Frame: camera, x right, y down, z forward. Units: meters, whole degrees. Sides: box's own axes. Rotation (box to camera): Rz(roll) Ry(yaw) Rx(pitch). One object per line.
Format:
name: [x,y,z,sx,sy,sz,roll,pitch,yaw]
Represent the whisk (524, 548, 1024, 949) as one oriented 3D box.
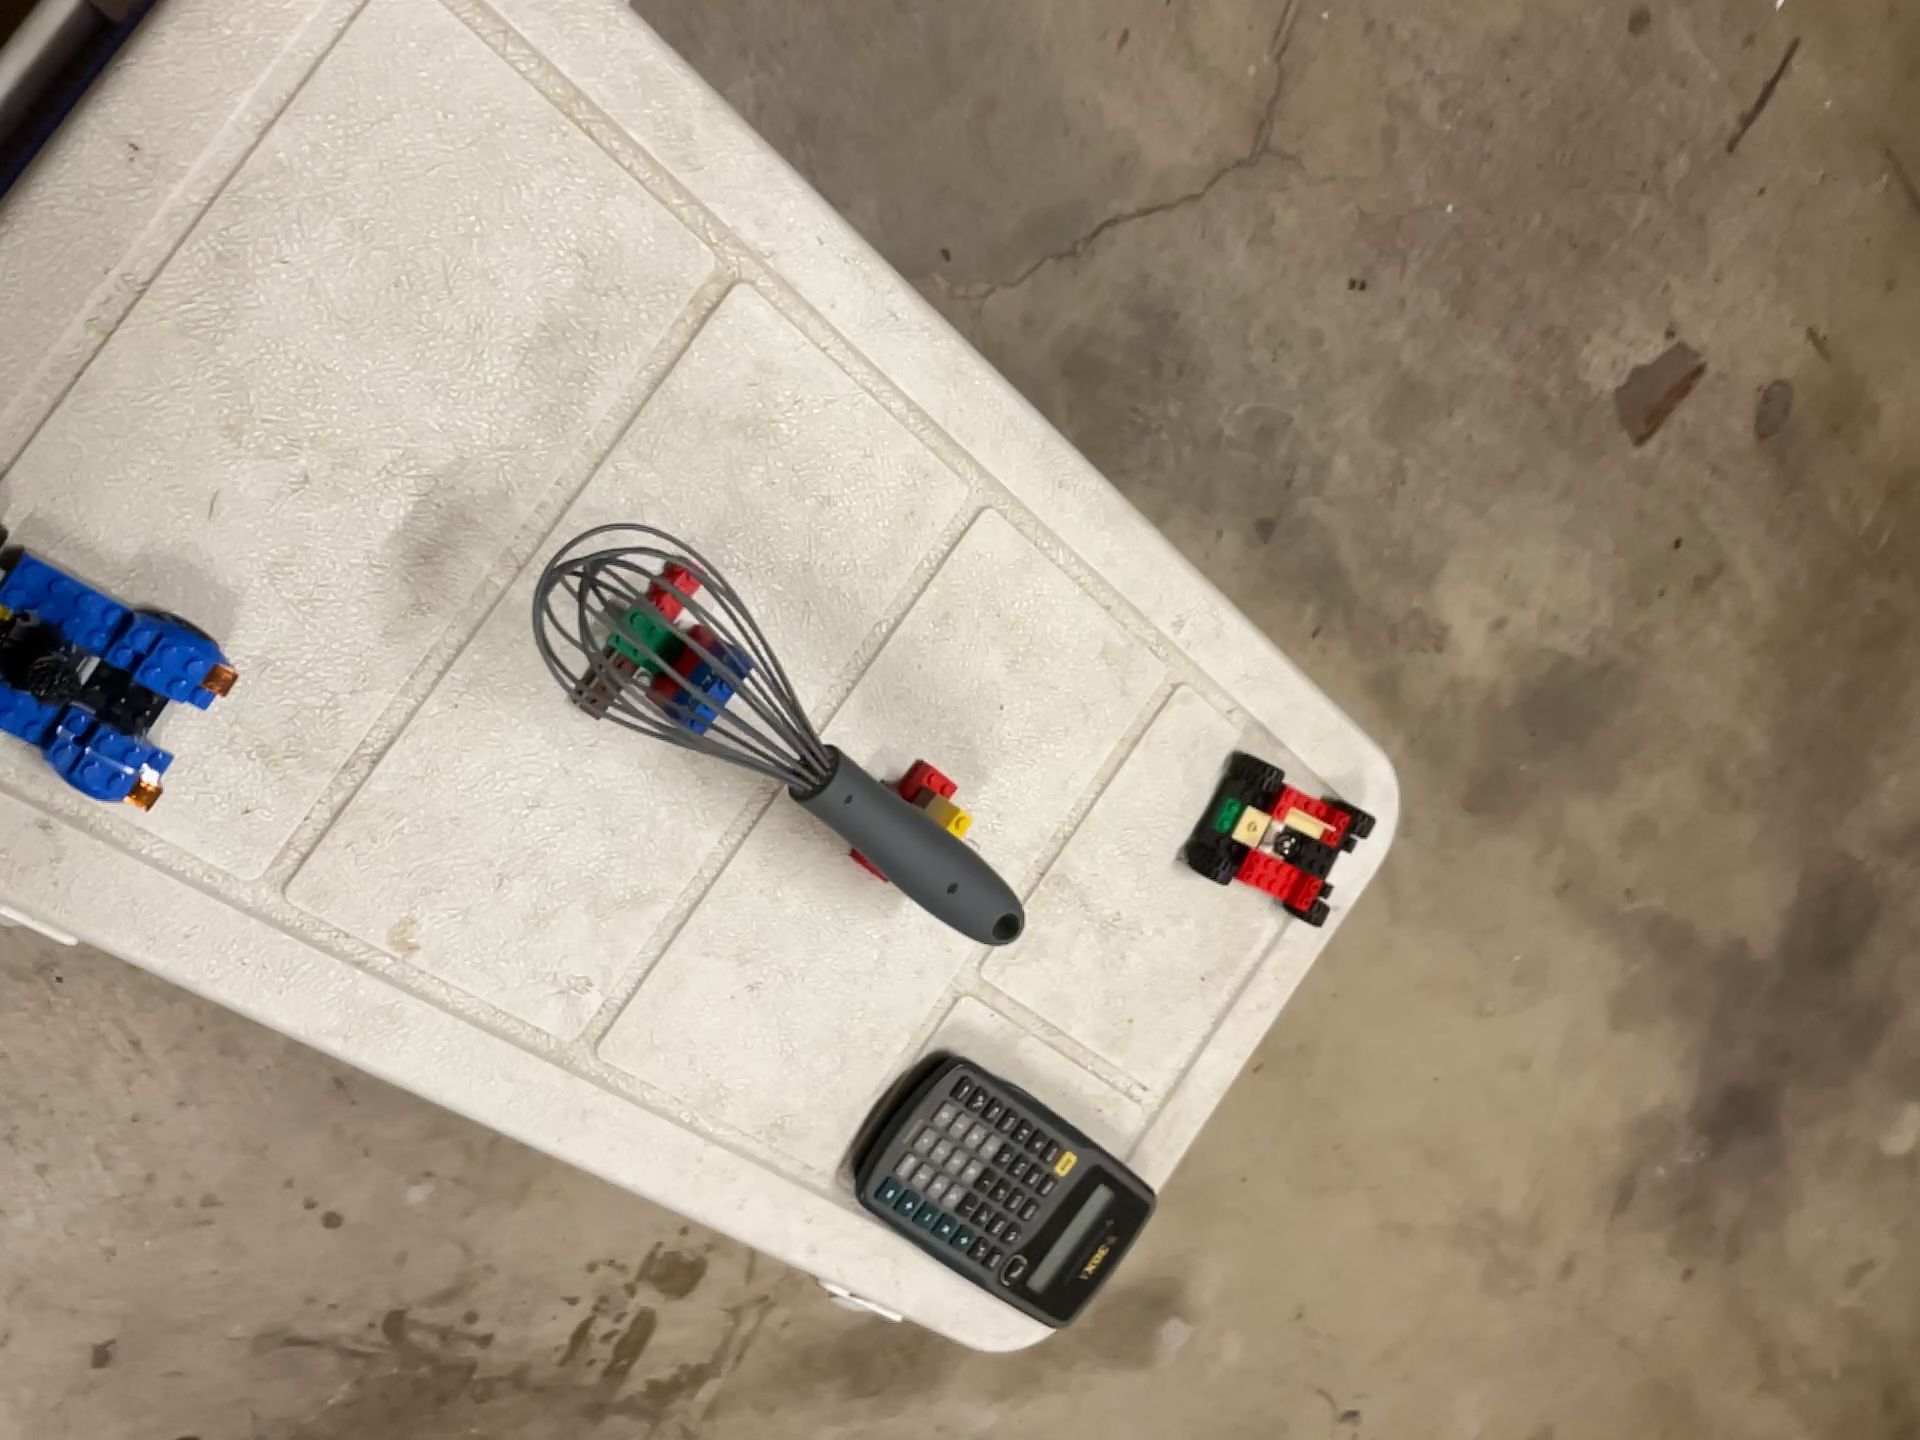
whisk: [-0.050,0.019,0.535,0.055,0.055,0.239,-50,128,-4]
